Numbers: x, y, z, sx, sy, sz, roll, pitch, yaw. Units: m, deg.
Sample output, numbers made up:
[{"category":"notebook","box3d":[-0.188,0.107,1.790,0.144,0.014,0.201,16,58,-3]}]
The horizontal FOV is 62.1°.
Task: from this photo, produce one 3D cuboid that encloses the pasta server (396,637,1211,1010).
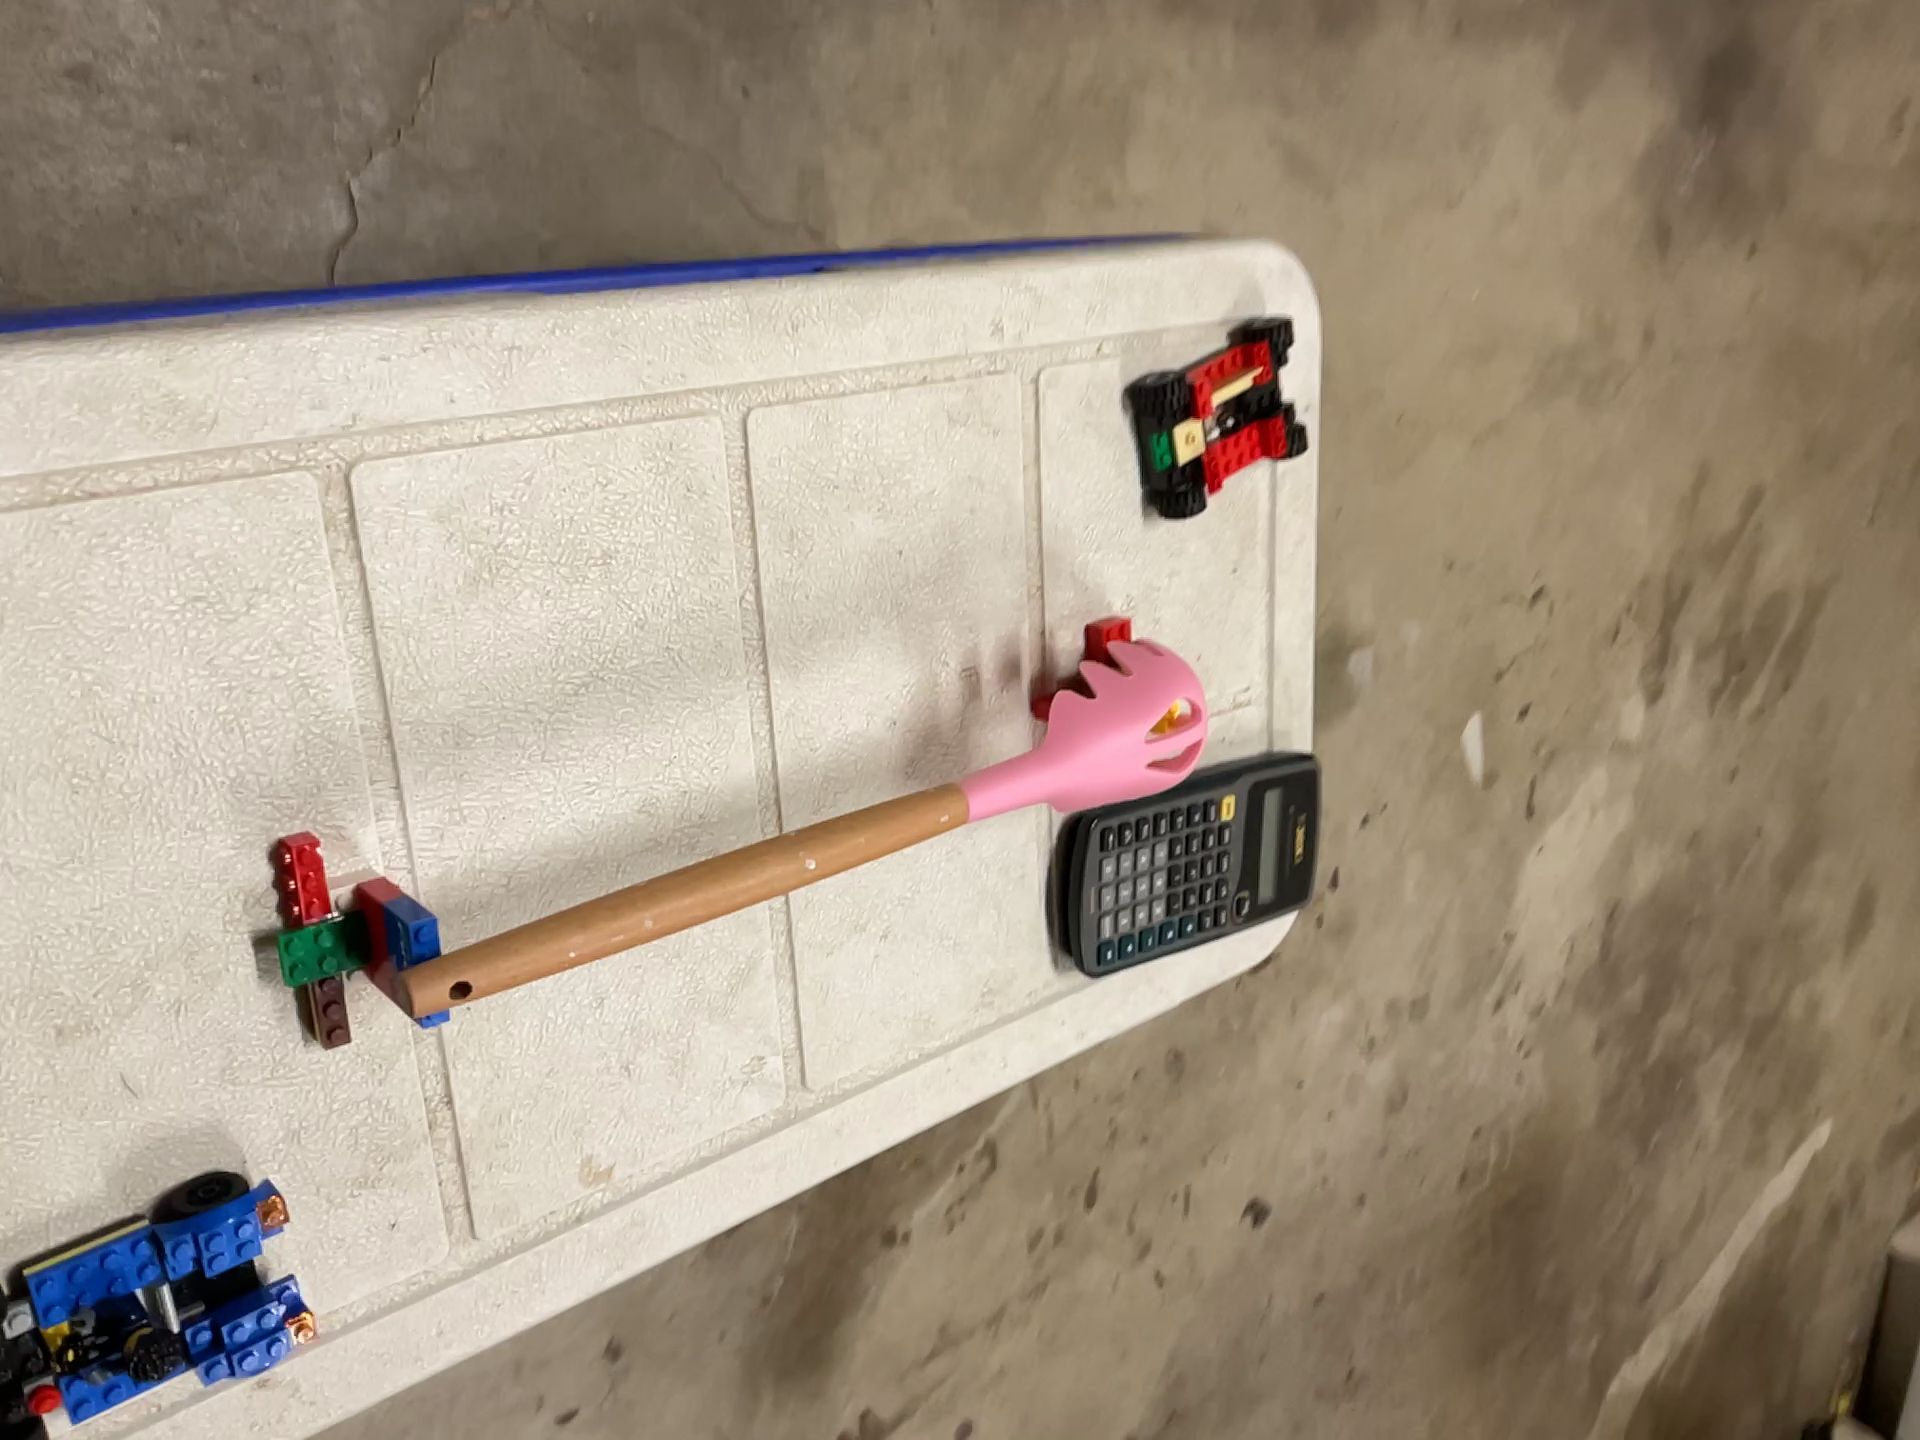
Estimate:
[{"category":"pasta server","box3d":[-0.028,0.032,0.520,0.316,0.040,0.060,-17,114,-34]}]
